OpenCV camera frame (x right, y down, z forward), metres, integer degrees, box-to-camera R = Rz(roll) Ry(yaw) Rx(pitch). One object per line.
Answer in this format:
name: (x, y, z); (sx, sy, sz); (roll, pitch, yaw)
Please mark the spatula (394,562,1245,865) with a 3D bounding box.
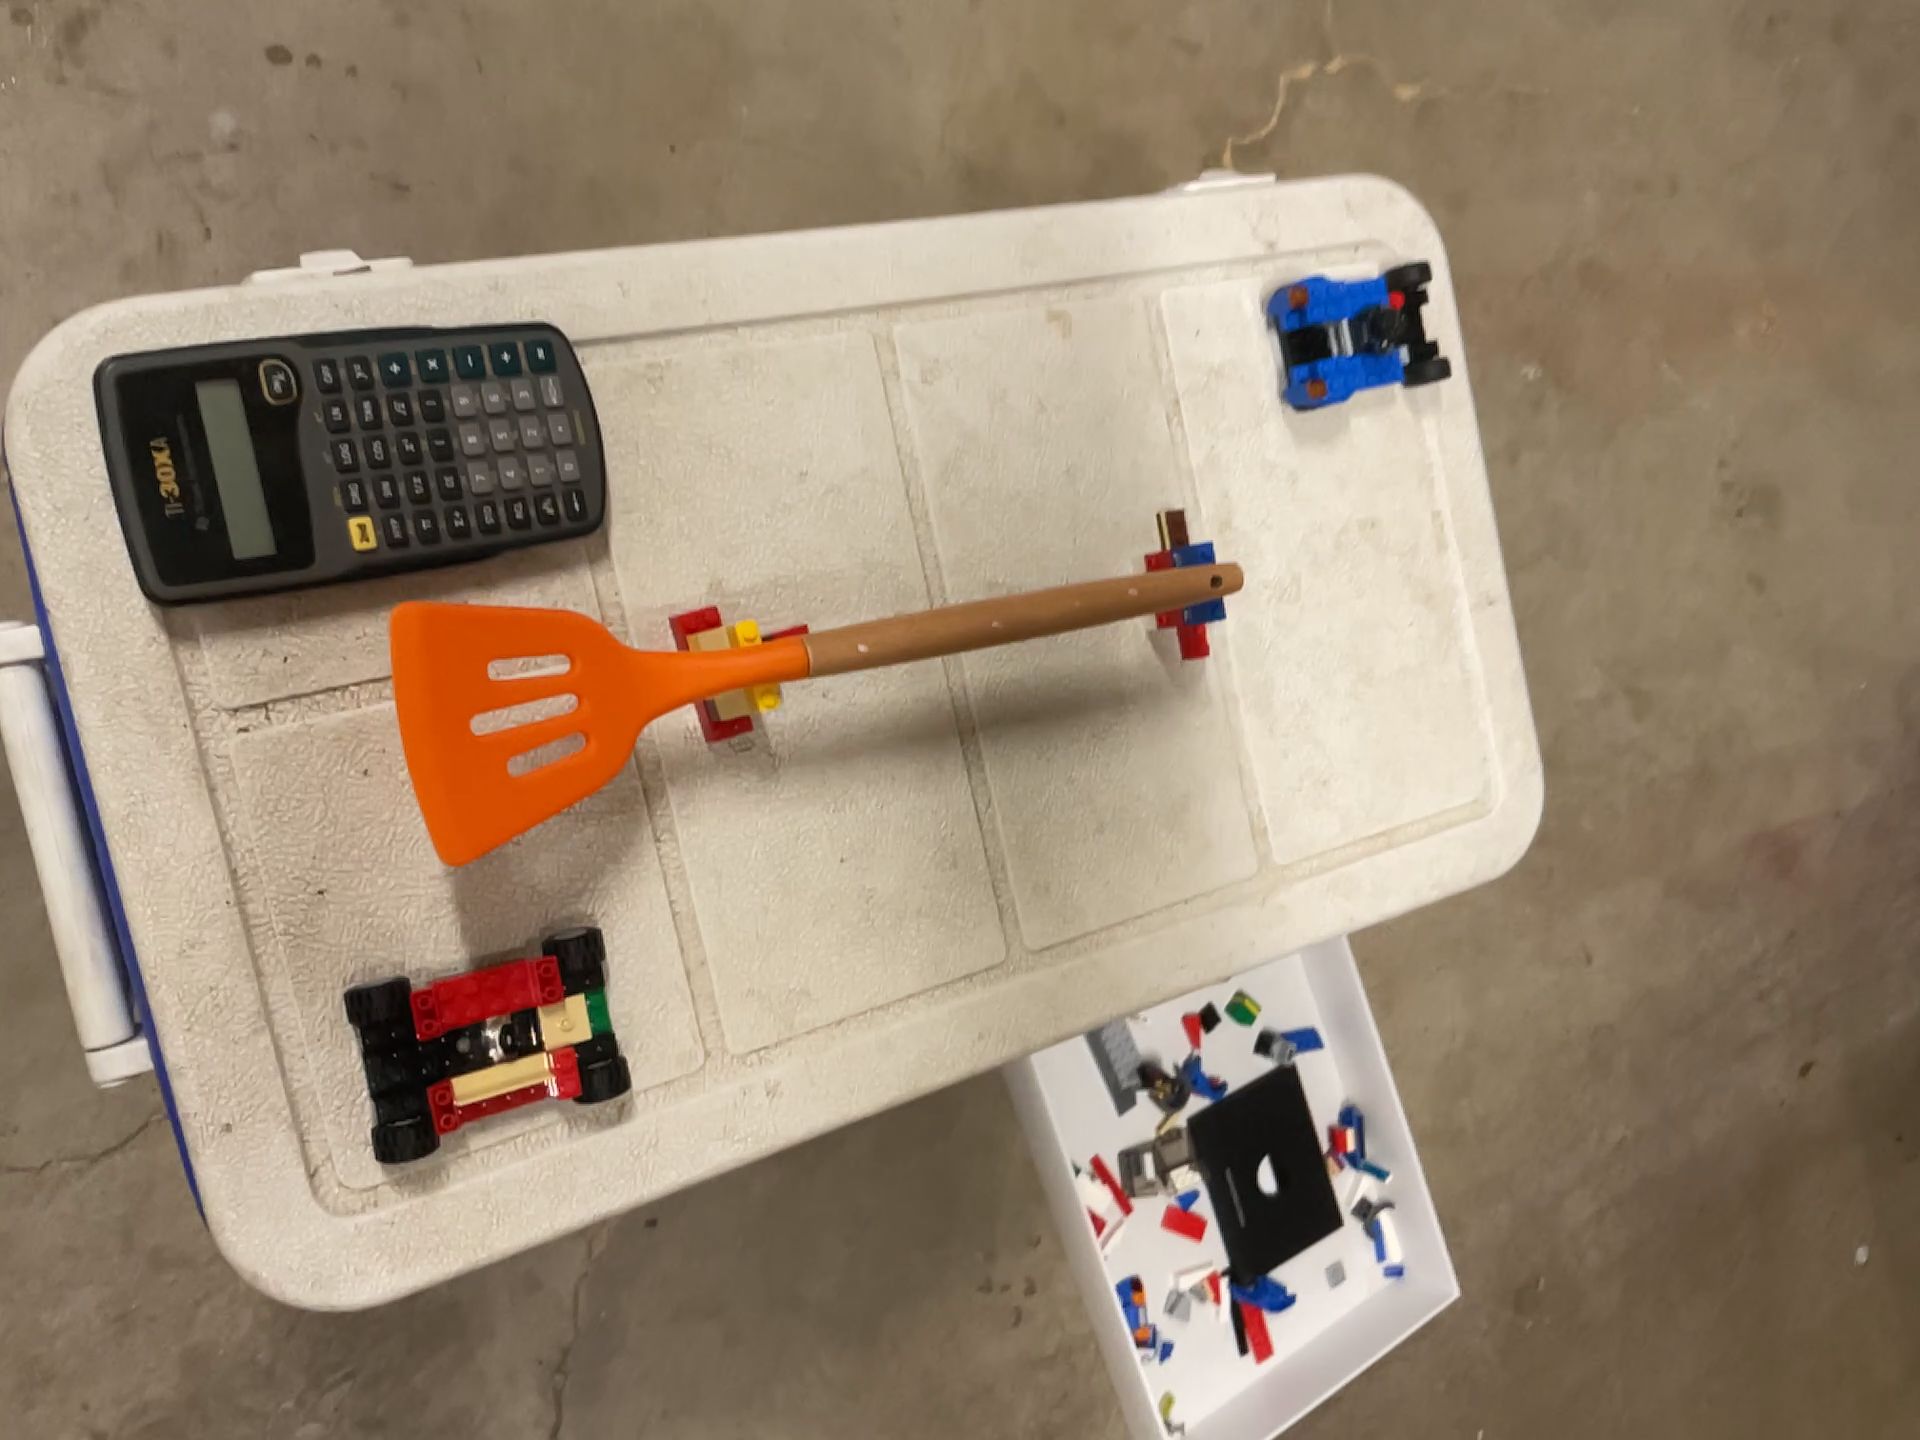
spatula: (-0.029, -0.026, 0.555); (0.323, 0.041, 0.081); (-12, 97, -26)
